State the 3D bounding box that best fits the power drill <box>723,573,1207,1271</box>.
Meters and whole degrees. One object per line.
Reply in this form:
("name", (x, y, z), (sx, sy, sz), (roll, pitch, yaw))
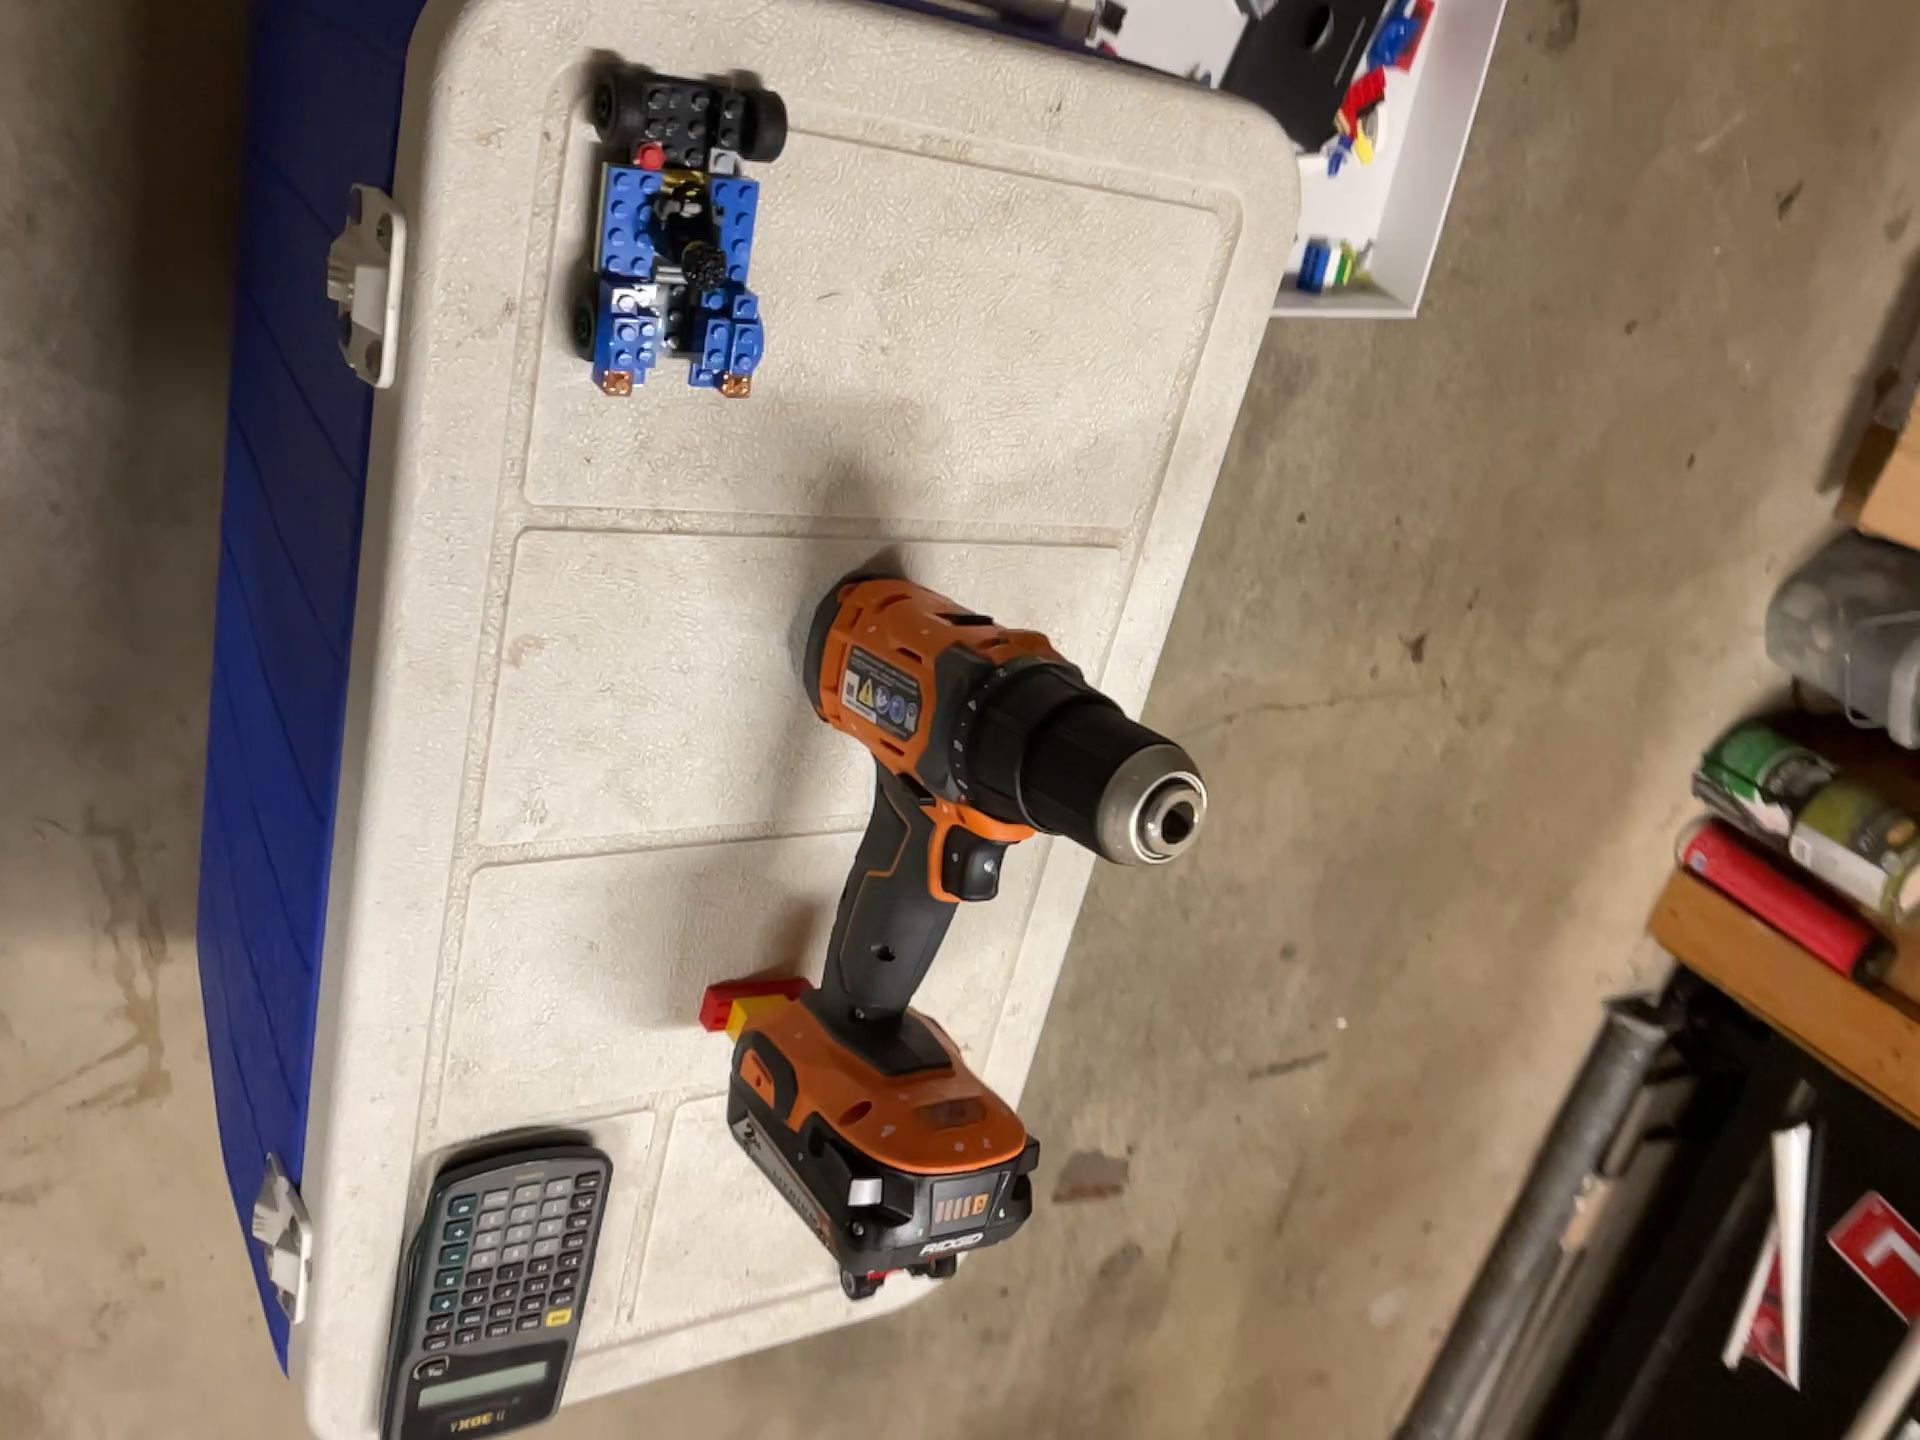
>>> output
("power drill", (-0.003, 0.076, 0.561), (0.084, 0.185, 0.226), (1, 108, -37))
